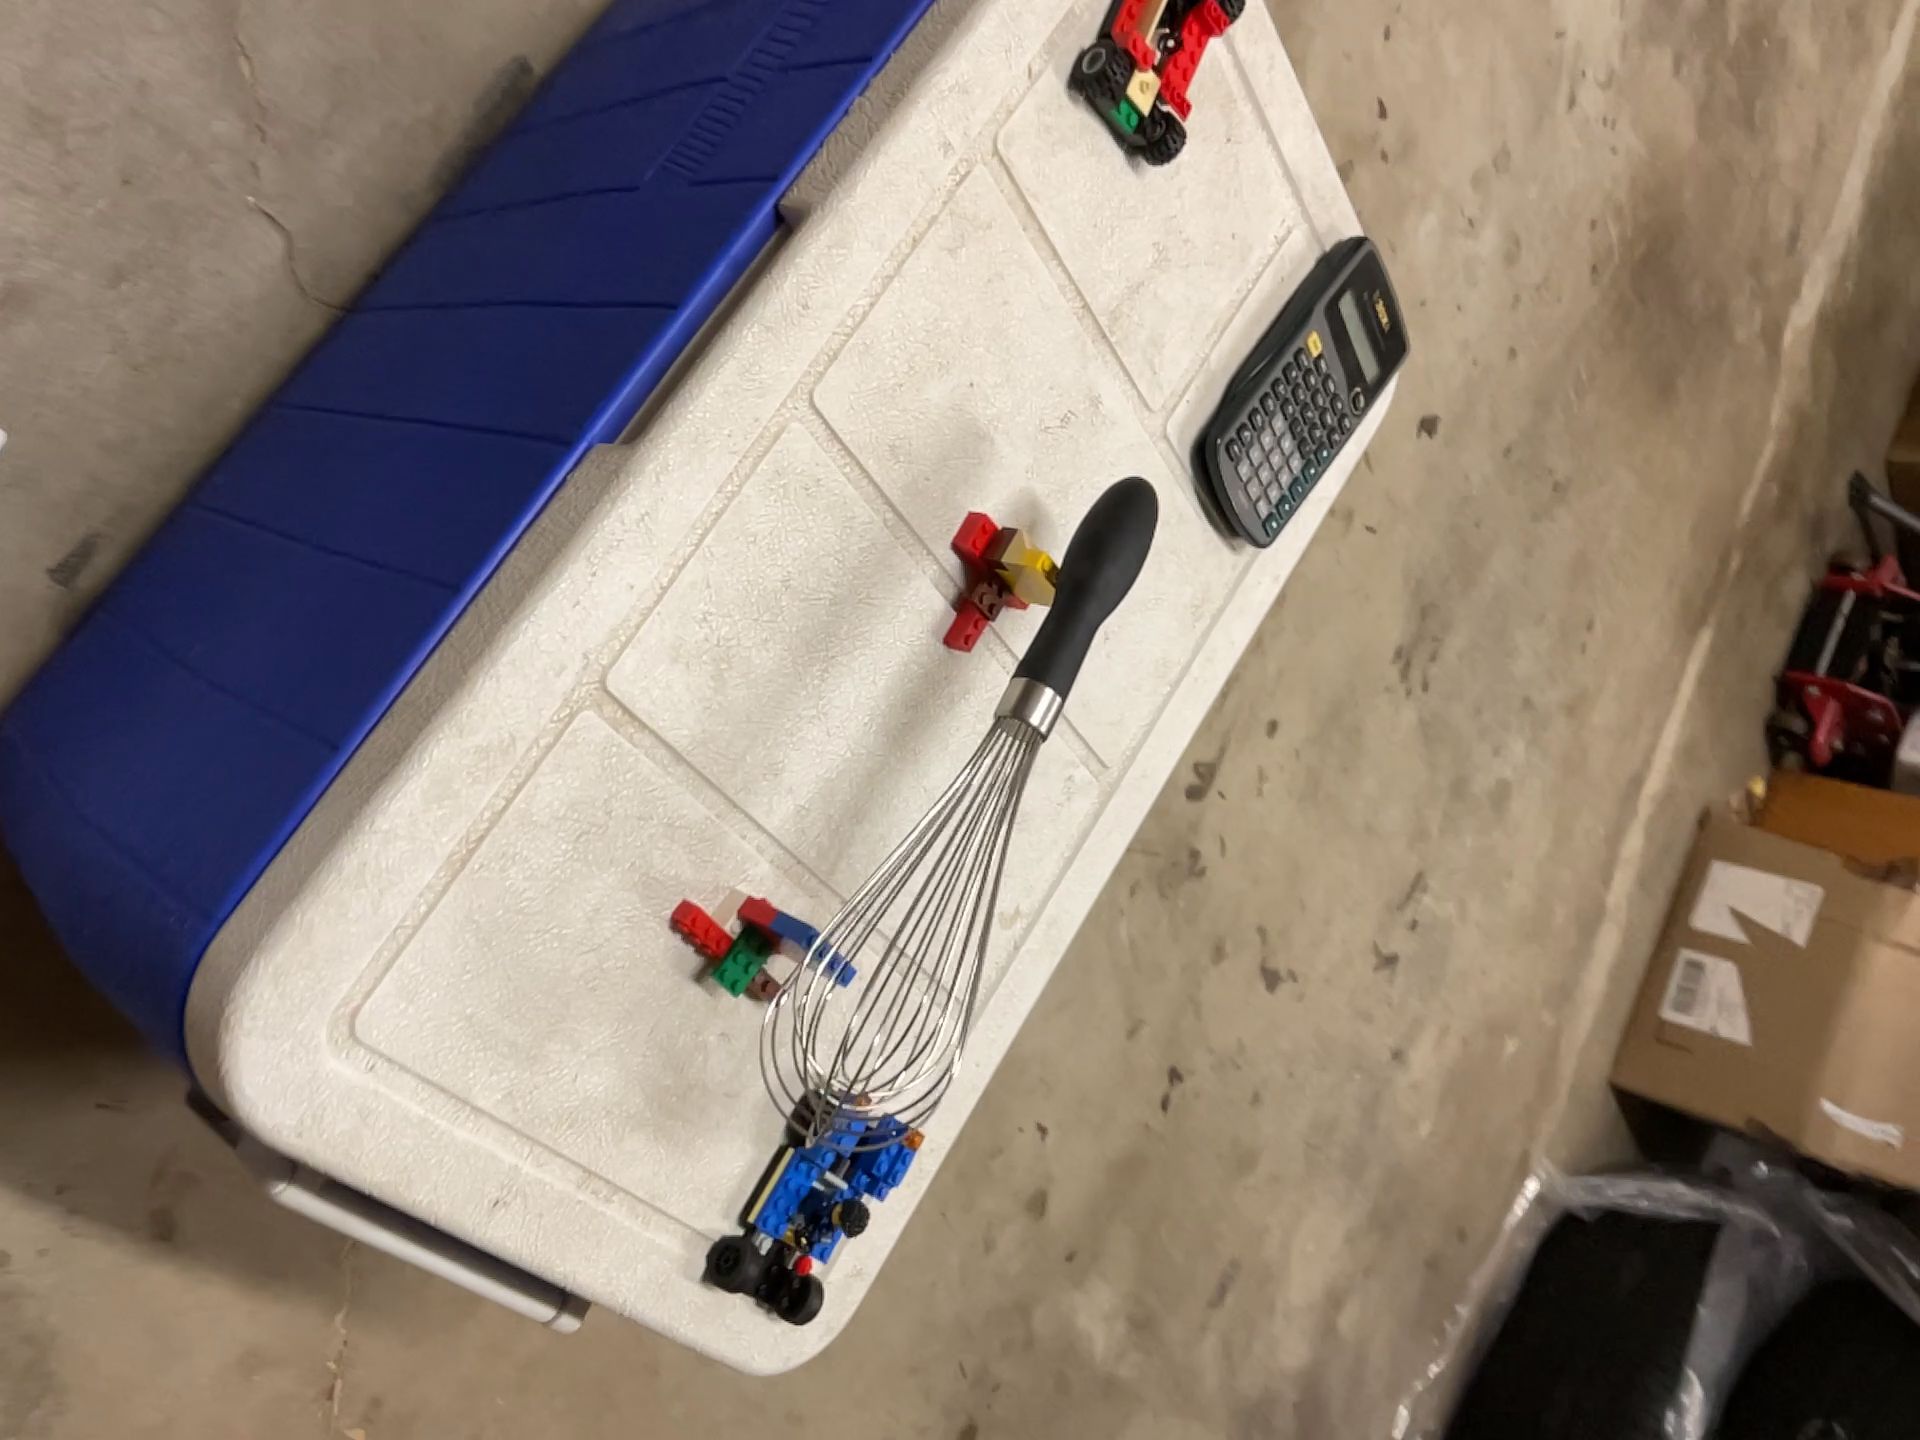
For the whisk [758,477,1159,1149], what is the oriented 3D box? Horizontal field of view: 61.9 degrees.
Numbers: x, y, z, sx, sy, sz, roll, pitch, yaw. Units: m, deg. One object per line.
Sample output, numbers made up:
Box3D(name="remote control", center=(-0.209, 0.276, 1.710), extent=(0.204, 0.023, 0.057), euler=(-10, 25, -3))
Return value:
Box3D(name="whisk", center=(0.012, 0.024, 0.584), extent=(0.070, 0.070, 0.285), euler=(44, 64, -38))
